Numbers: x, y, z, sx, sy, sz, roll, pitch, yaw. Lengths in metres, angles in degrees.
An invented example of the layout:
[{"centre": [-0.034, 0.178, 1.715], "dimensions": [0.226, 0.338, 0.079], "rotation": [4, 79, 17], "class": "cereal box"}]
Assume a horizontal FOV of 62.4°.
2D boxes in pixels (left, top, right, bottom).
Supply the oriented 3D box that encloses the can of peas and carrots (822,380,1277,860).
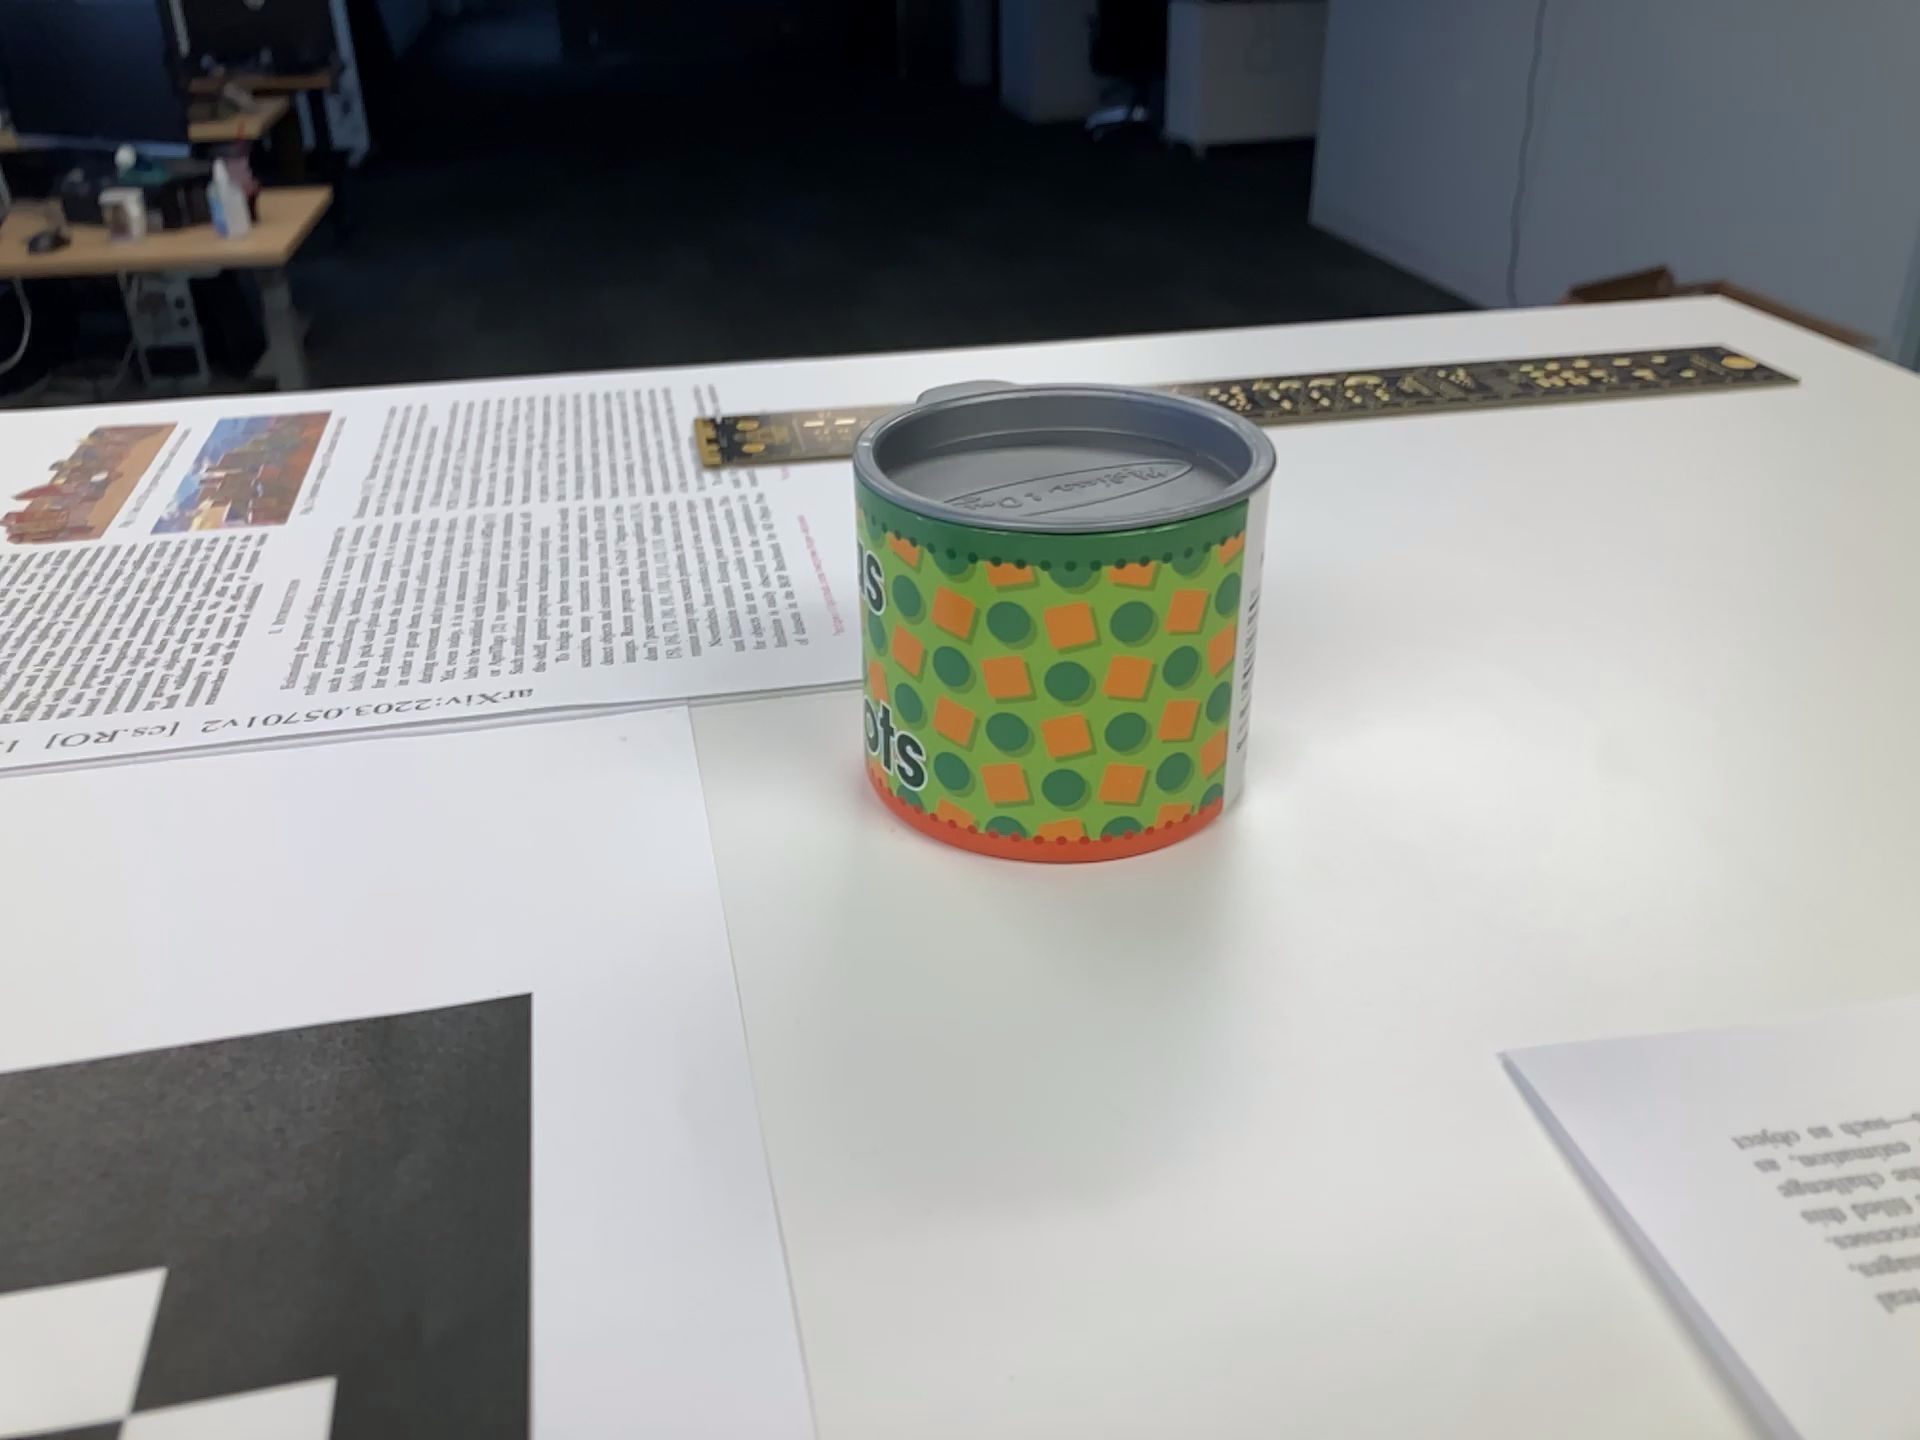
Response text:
[{"centre": [0.014, -0.018, 0.262], "dimensions": [0.071, 0.059, 0.071], "rotation": [0, 29, 0], "class": "can of peas and carrots"}]
